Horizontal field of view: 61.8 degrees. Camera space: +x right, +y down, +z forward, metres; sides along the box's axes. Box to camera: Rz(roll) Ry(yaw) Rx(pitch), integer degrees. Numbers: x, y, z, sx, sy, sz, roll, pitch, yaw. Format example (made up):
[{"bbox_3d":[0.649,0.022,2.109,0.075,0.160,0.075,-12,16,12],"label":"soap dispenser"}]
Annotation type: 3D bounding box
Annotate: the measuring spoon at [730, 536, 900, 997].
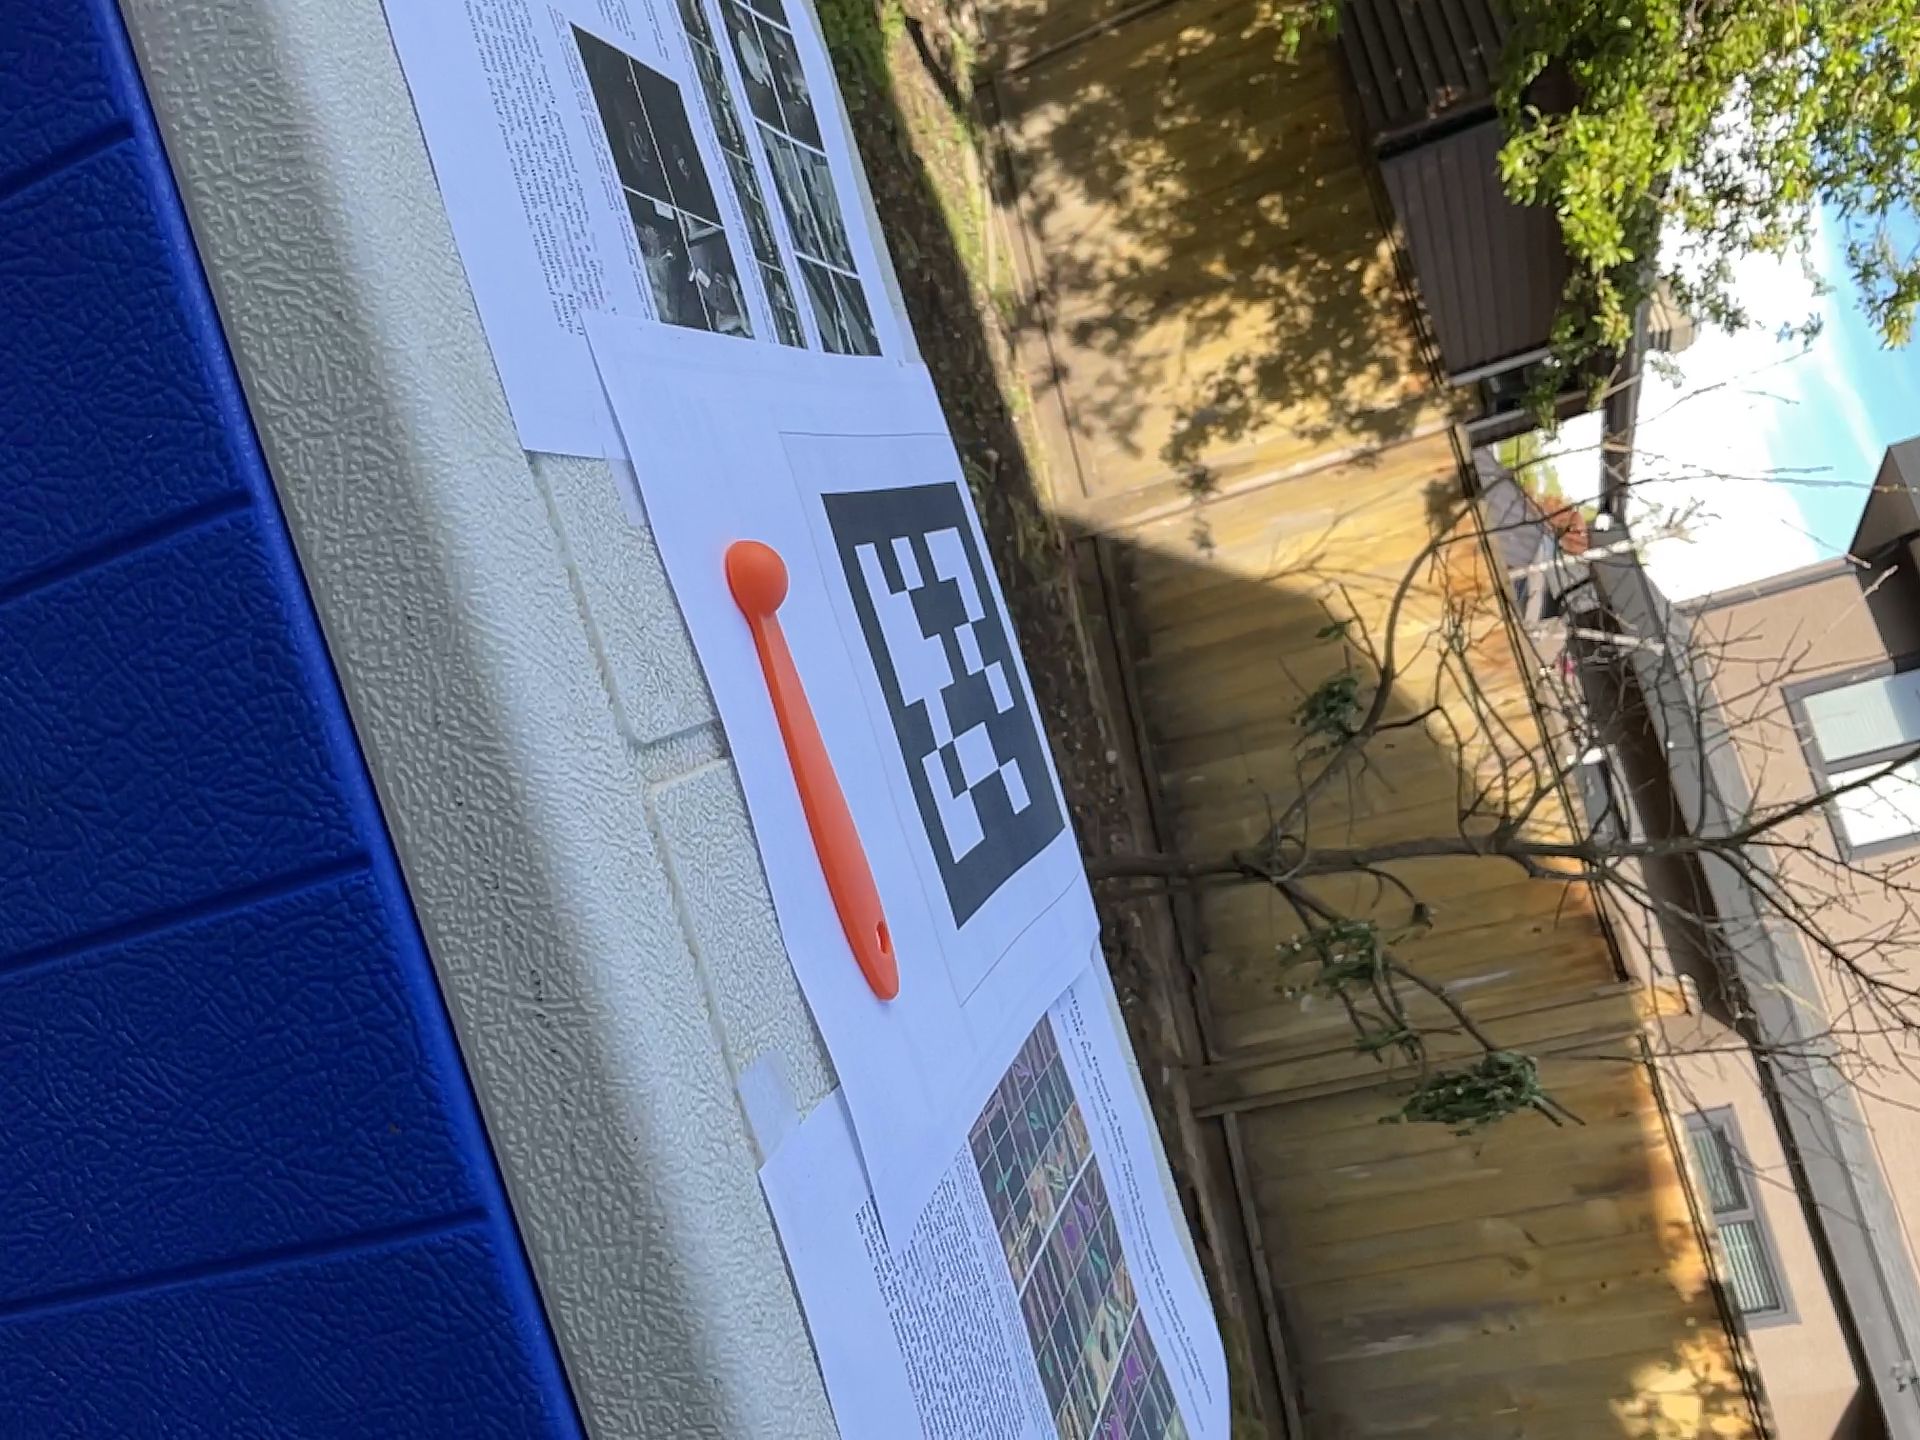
[{"bbox_3d":[-0.031,0.011,0.385,0.021,0.011,0.117,-35,109,-67],"label":"measuring spoon"}]
